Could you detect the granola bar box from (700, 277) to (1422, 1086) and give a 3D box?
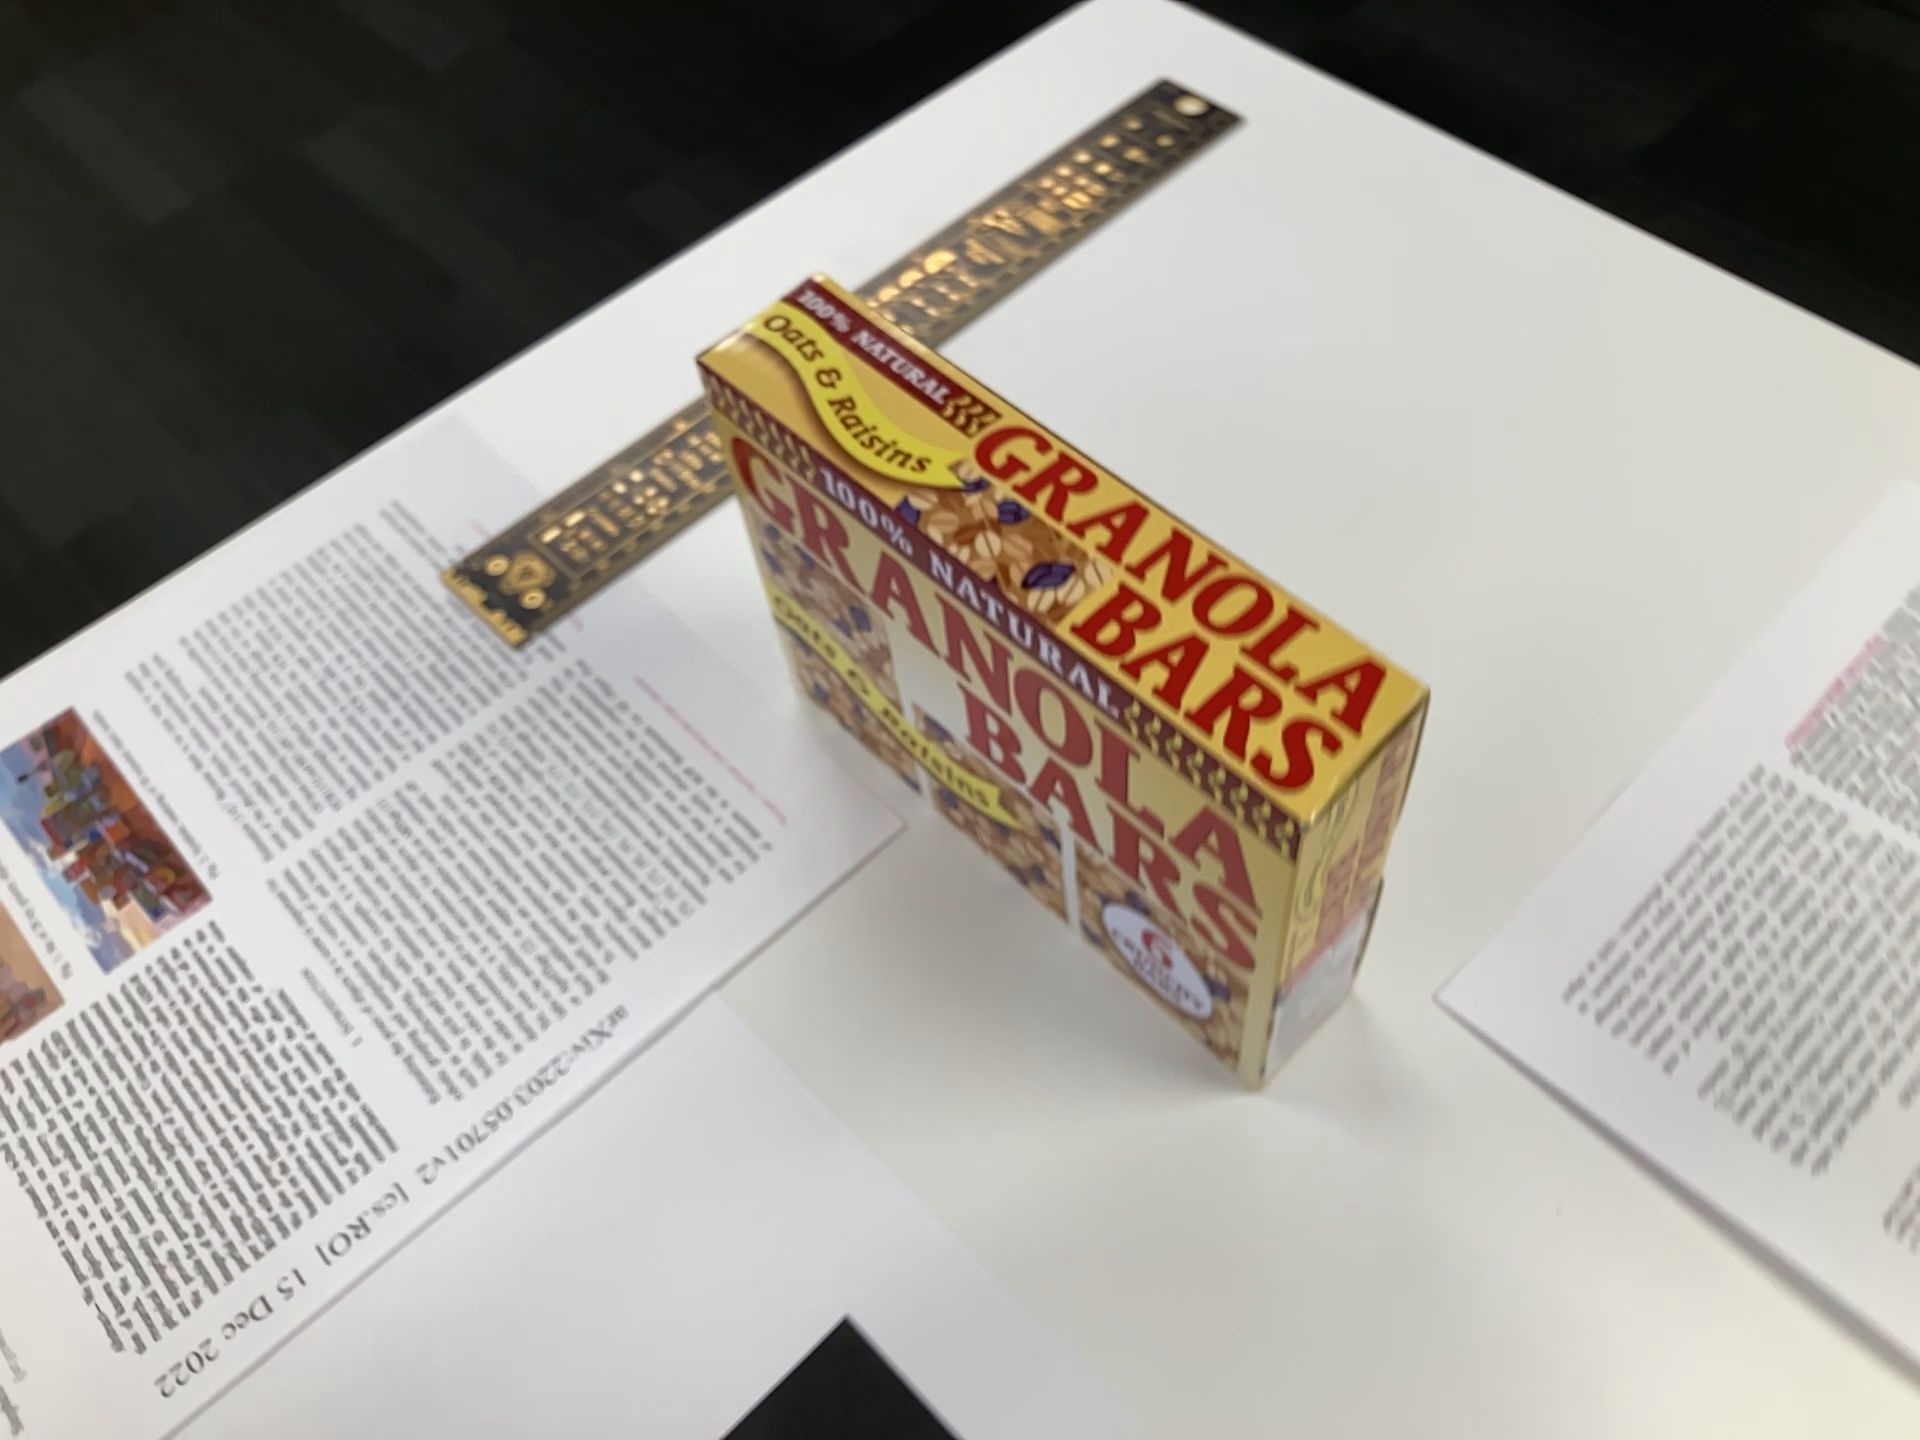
[{"bbox_3d":[0.019,-0.008,0.358,0.039,0.124,0.165,-40,61,-19],"label":"granola bar box"}]
